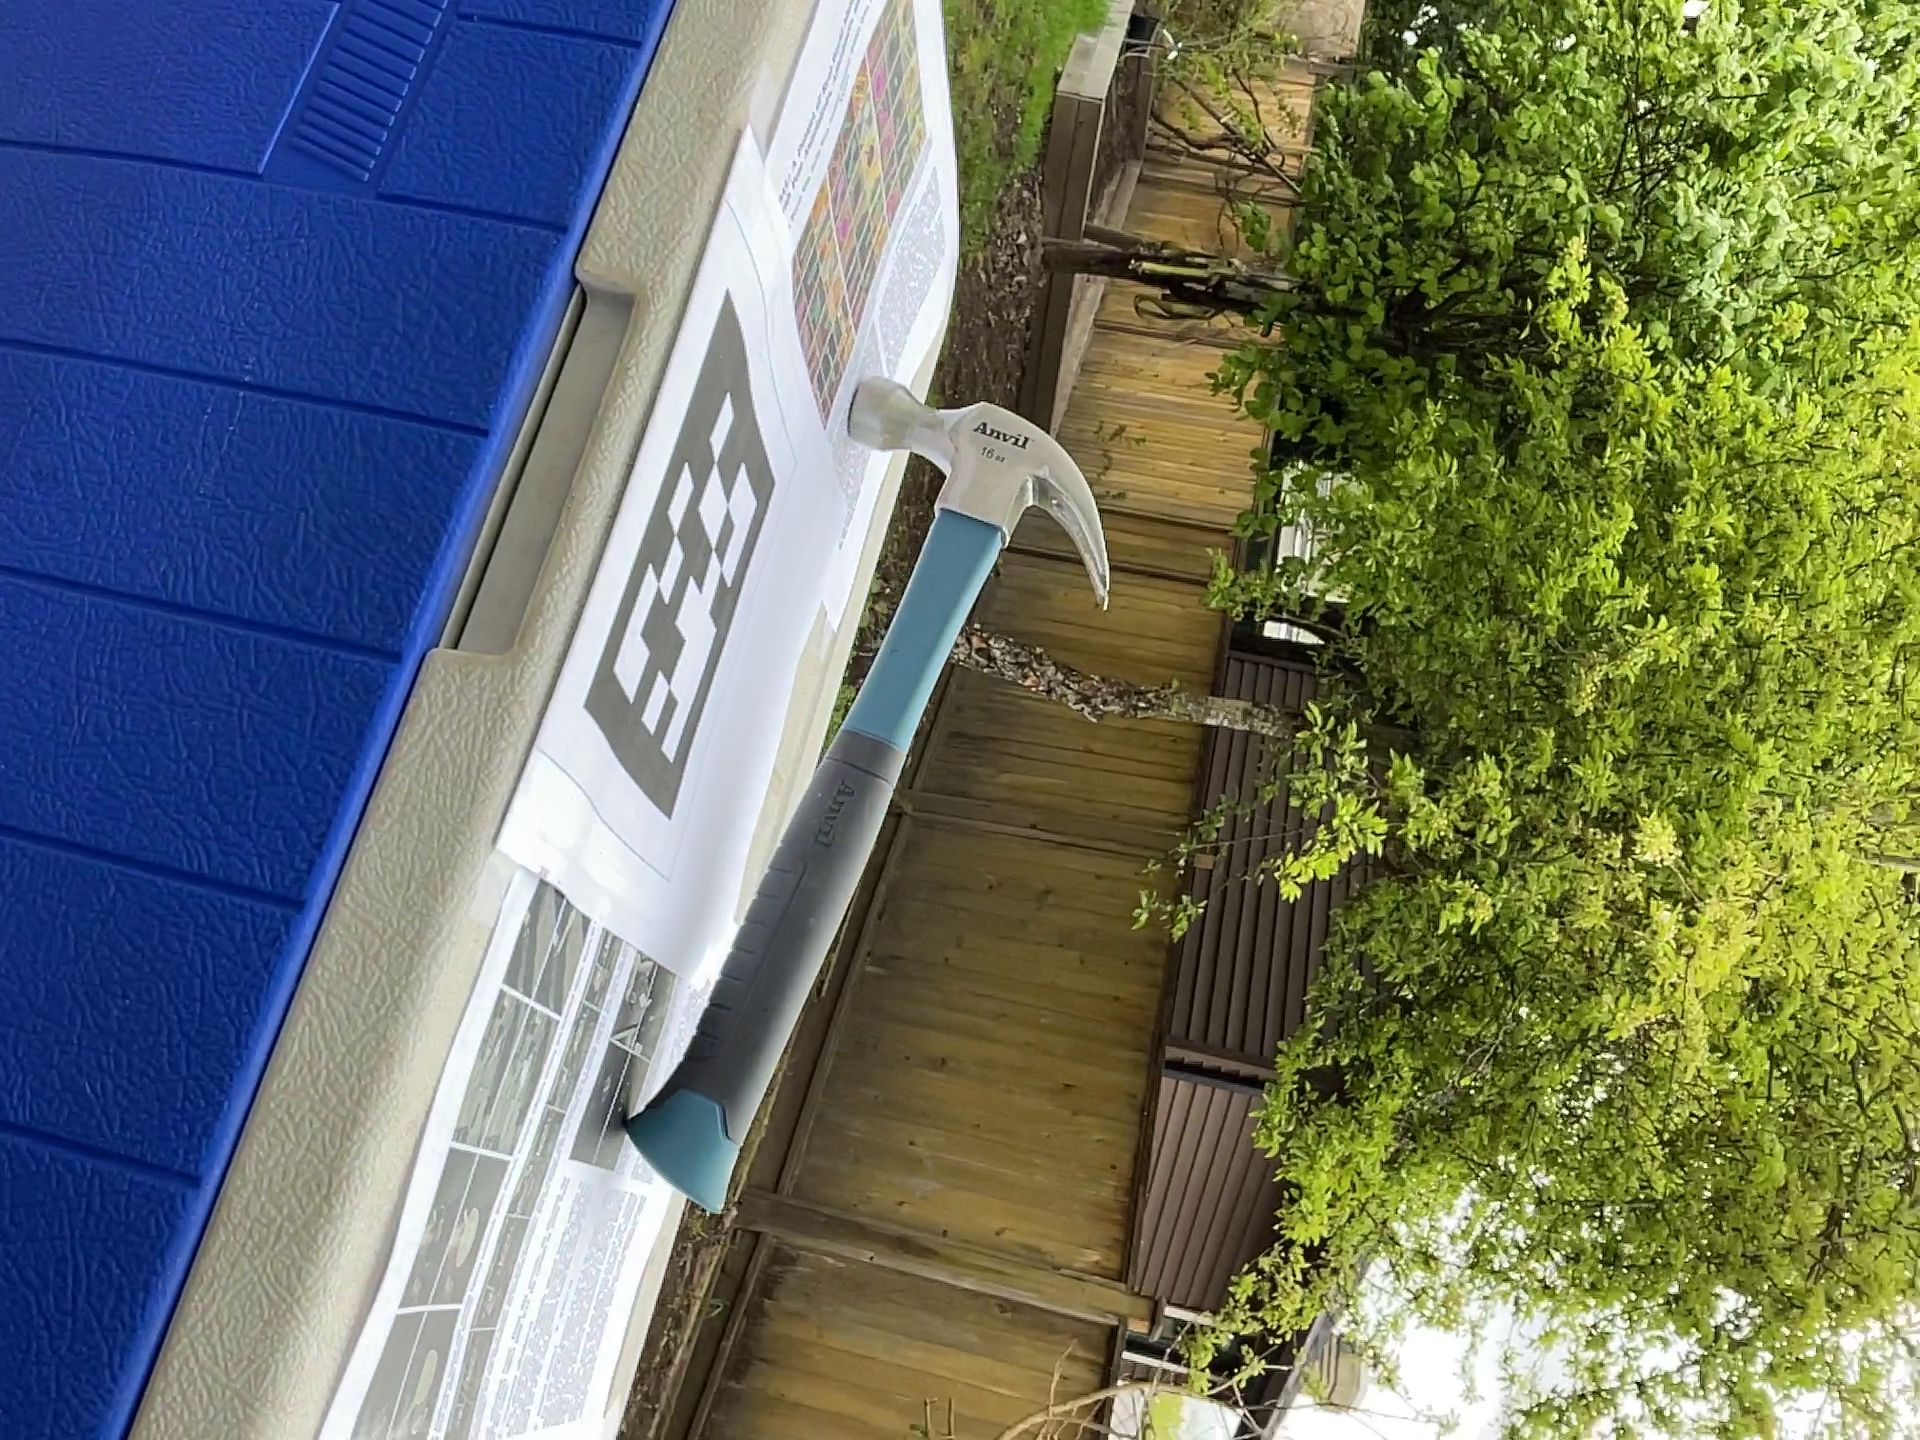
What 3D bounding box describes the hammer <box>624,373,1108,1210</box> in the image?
[{"bbox_3d":[-0.041,0.020,0.611,0.033,0.128,0.331,79,33,-69],"label":"hammer"}]
